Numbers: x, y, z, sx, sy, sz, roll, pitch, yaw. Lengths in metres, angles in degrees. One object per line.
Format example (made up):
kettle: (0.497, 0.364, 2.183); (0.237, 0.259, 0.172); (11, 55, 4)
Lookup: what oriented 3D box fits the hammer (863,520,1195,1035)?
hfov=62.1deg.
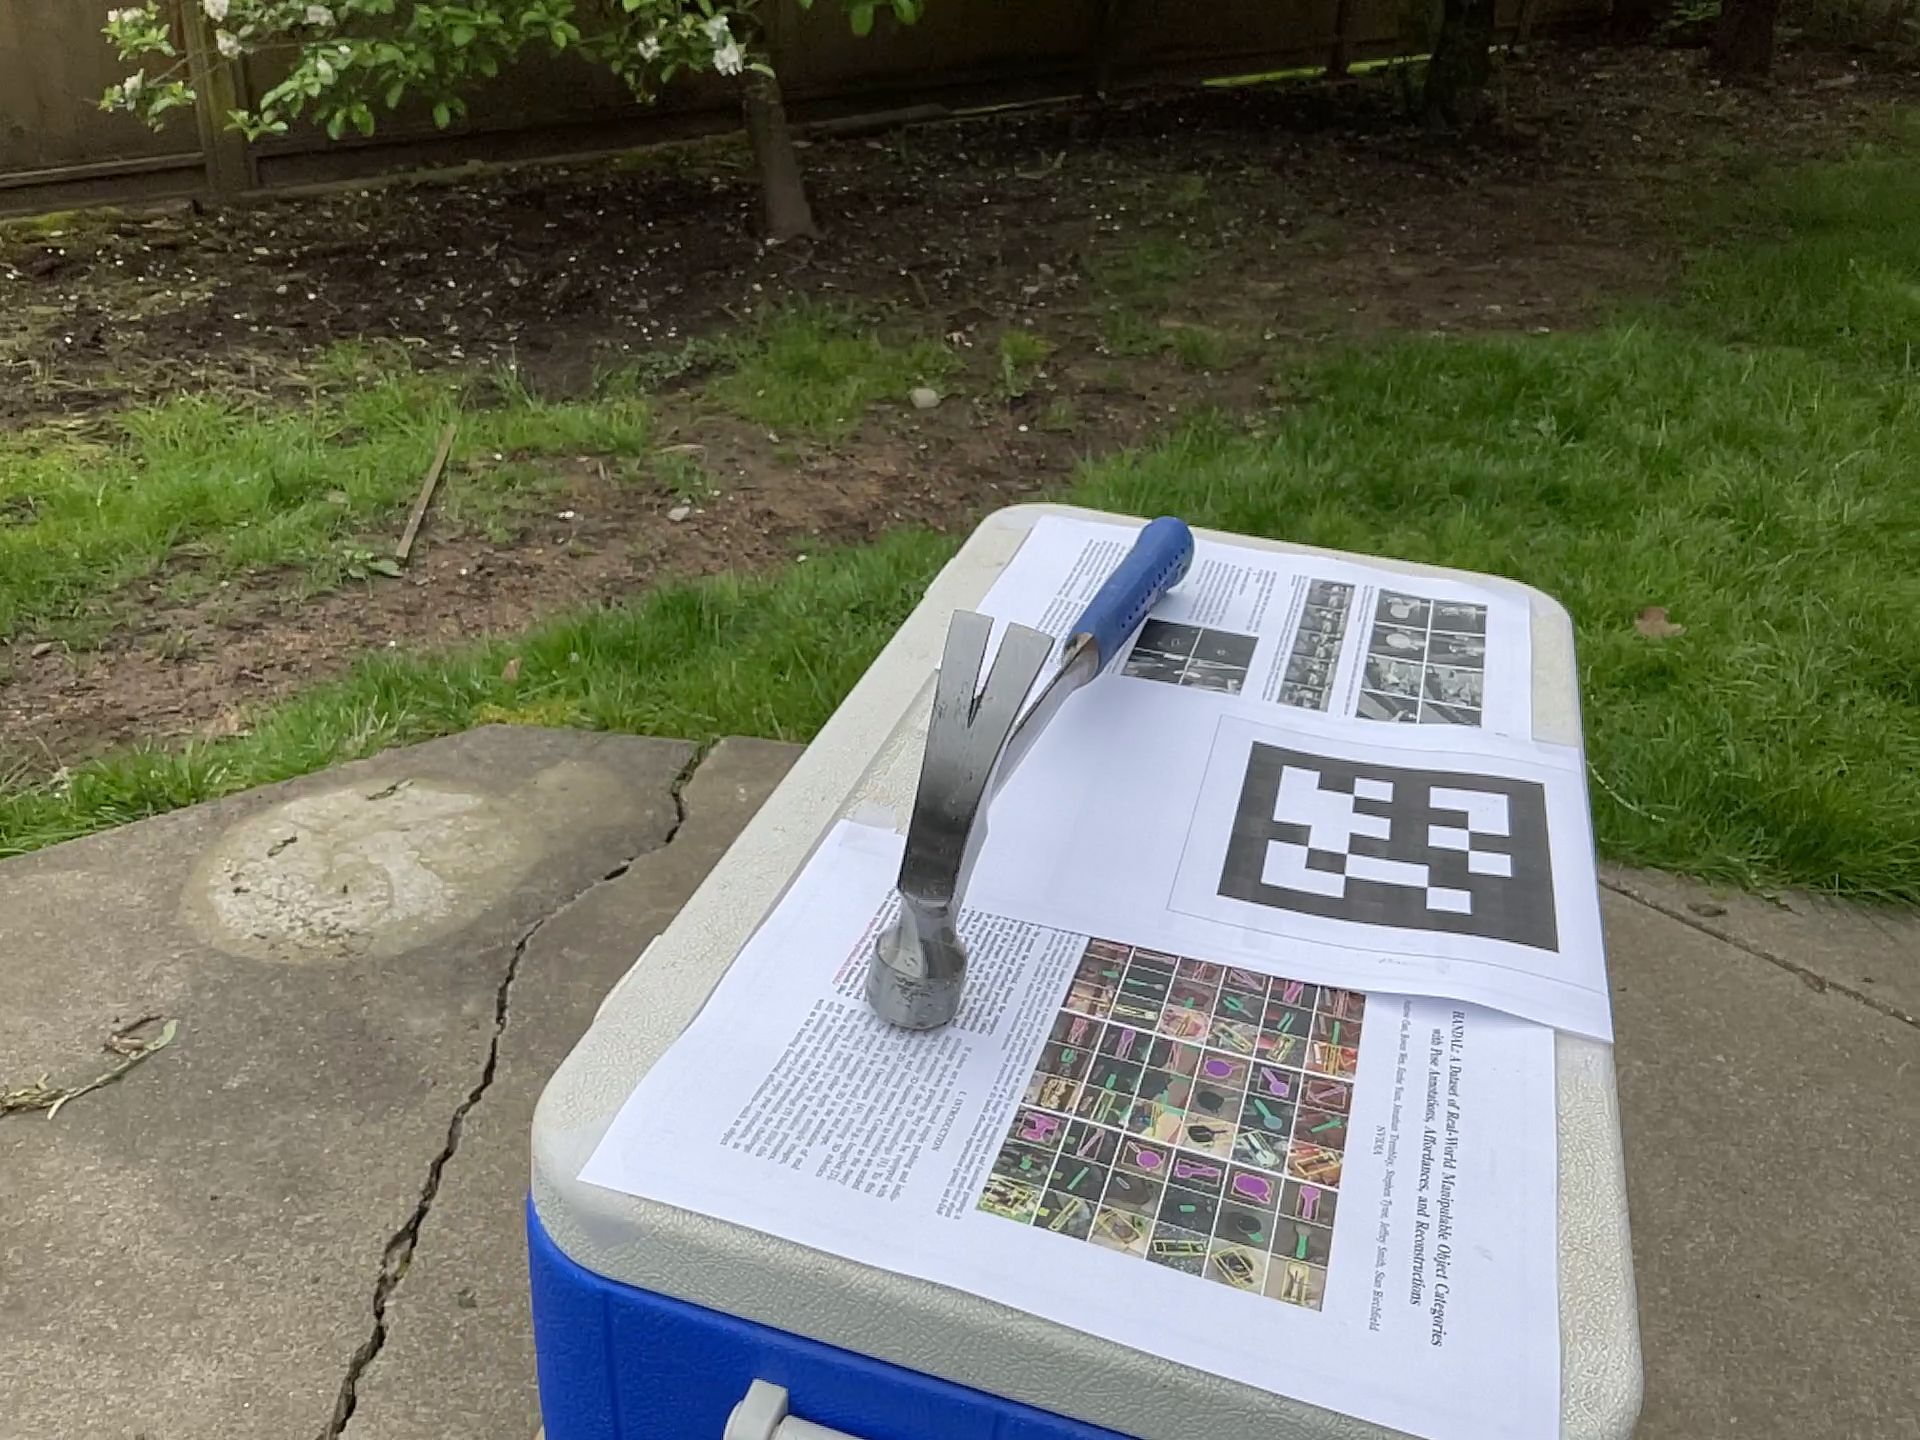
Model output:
hammer: (0.052, -0.026, 0.692); (0.035, 0.144, 0.405); (18, 25, 11)
